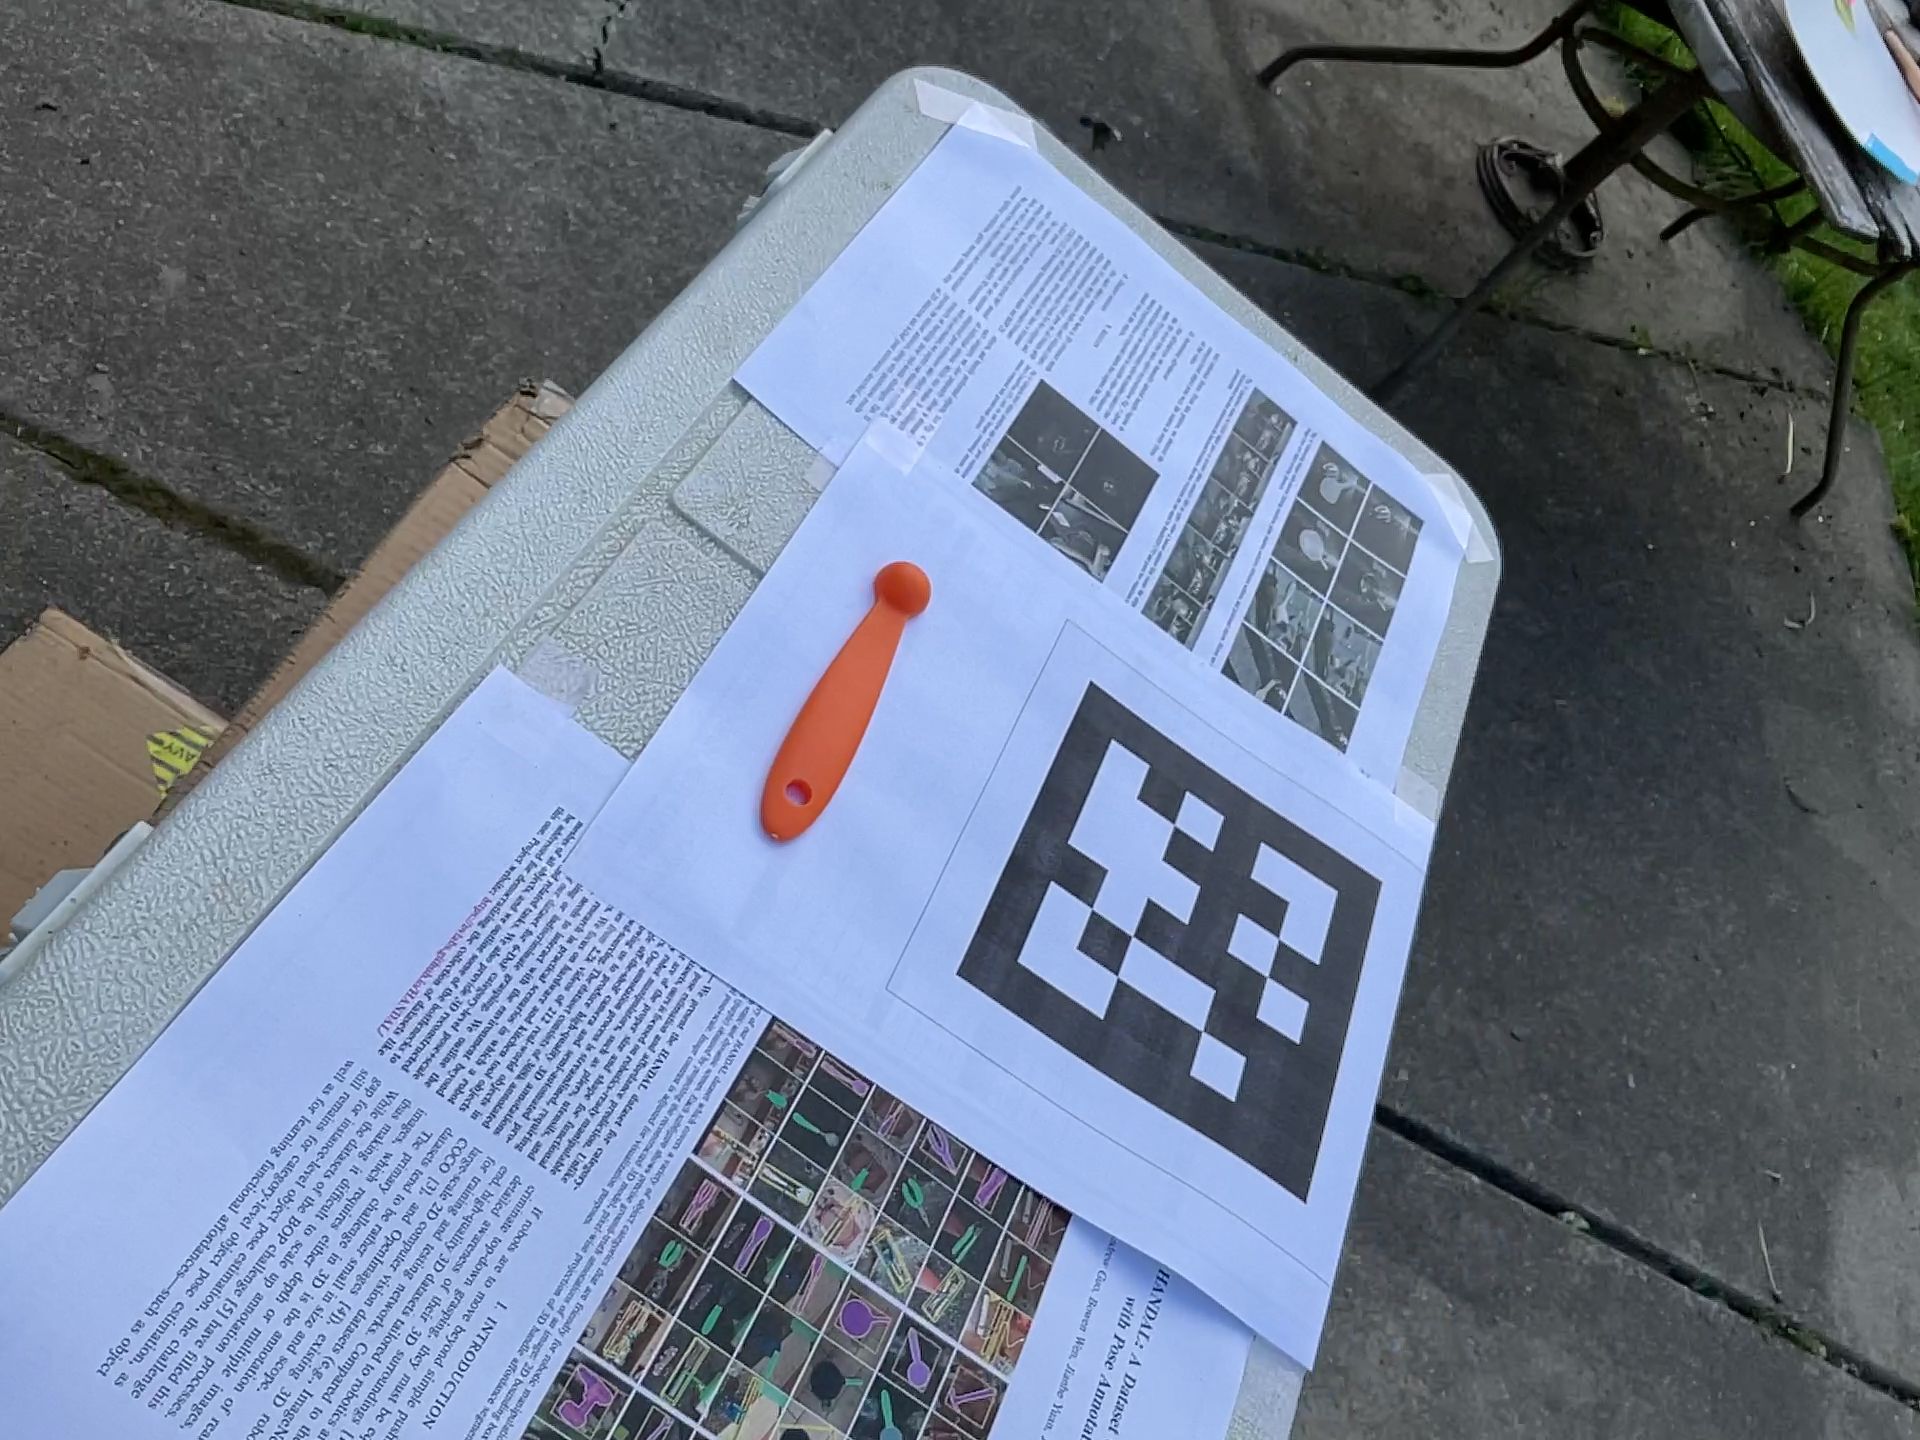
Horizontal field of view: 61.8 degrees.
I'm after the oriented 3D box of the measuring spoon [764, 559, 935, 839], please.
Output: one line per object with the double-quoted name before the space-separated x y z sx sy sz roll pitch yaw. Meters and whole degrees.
"measuring spoon" -0.032 -0.010 0.491 0.021 0.011 0.117 31 51 -8
